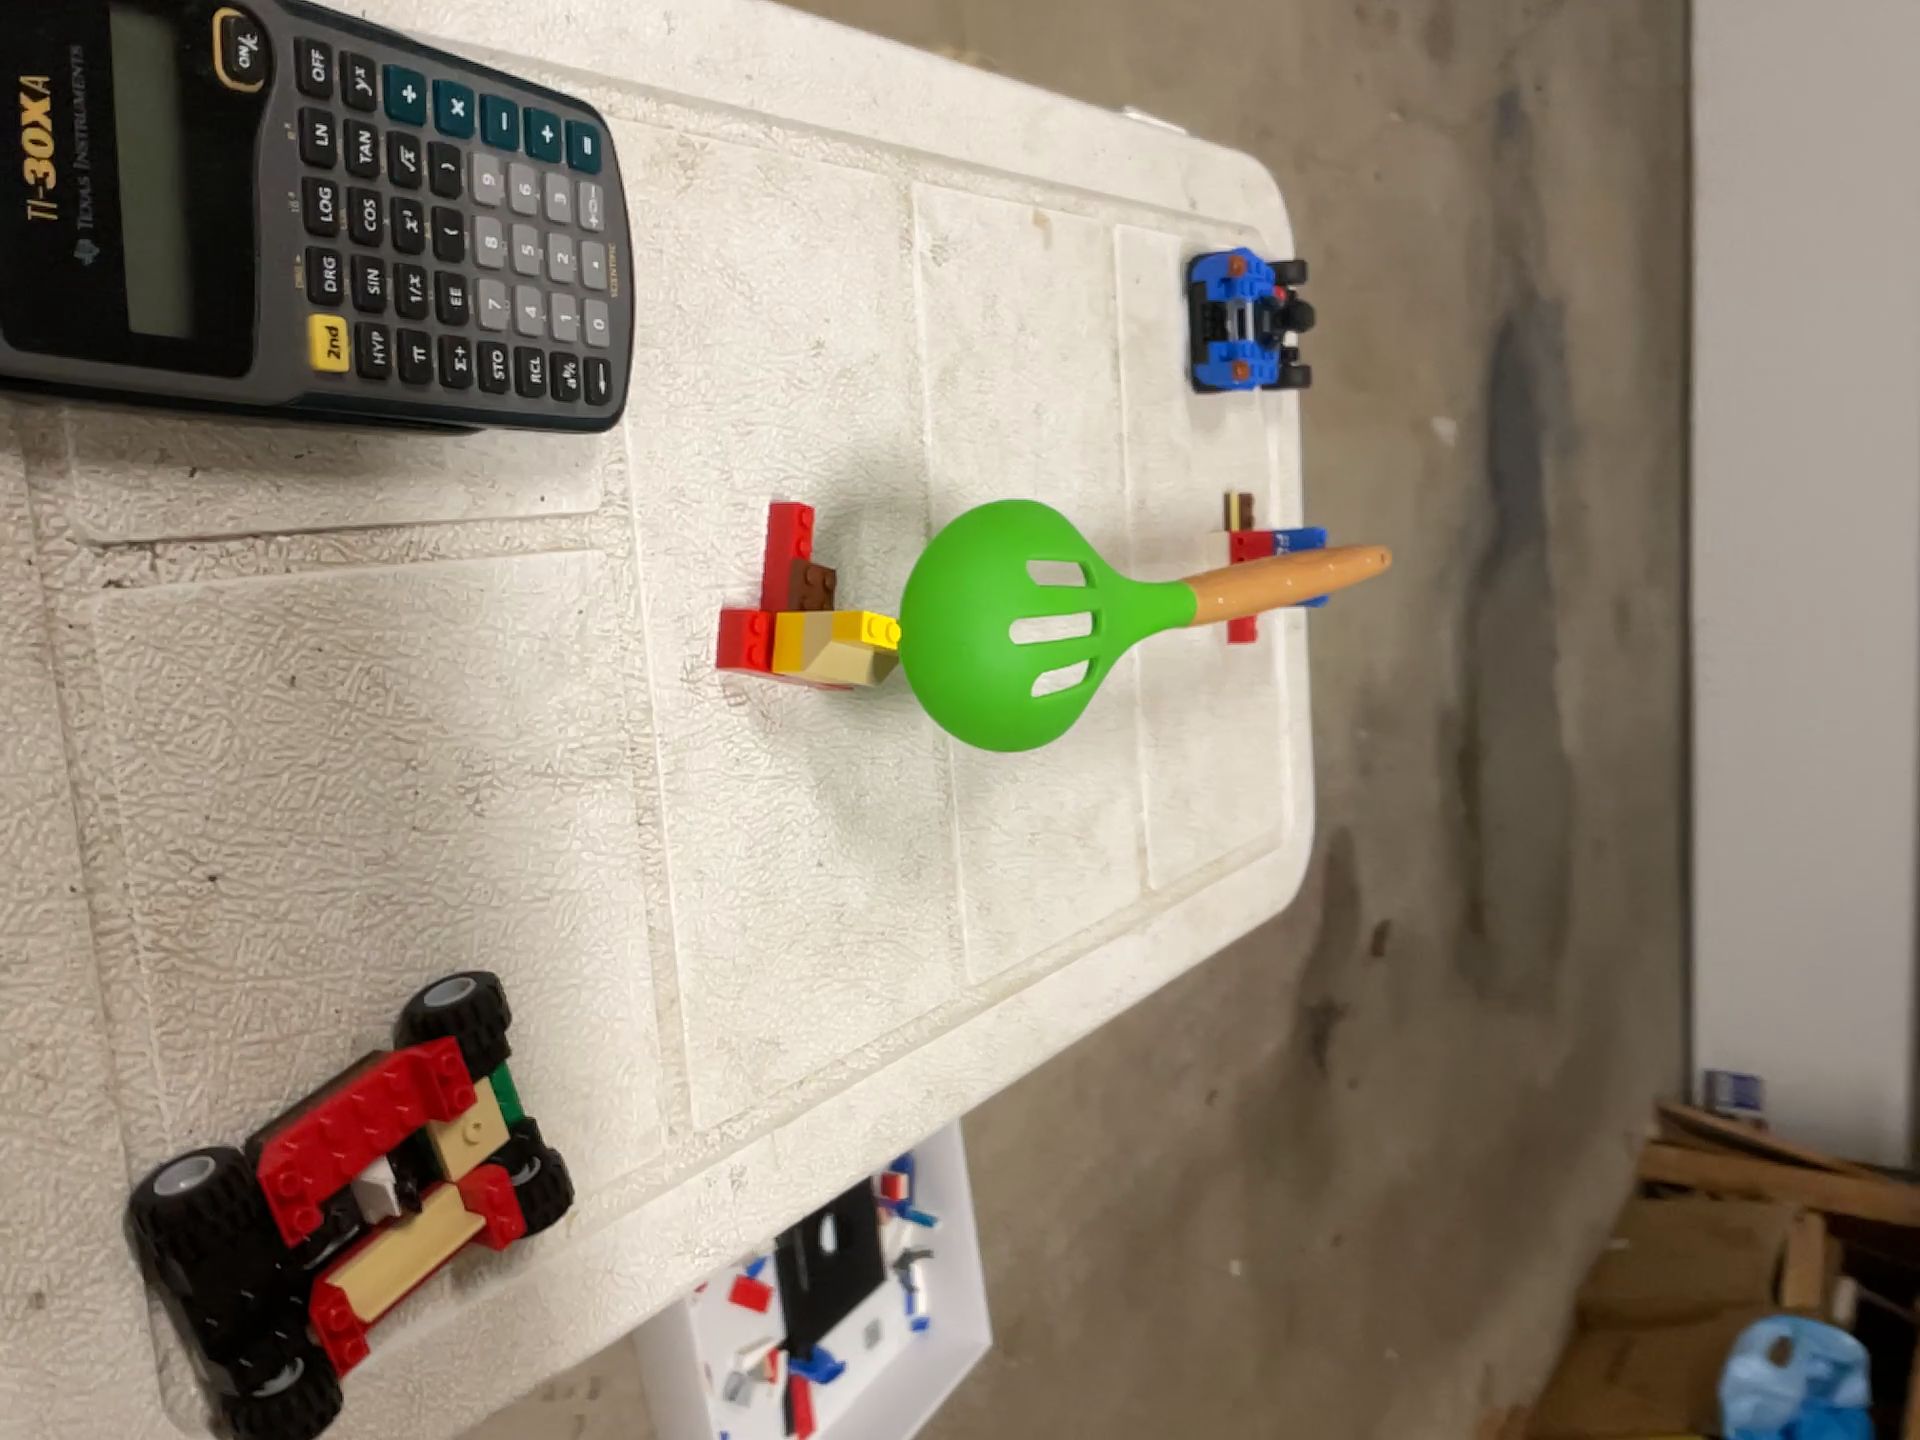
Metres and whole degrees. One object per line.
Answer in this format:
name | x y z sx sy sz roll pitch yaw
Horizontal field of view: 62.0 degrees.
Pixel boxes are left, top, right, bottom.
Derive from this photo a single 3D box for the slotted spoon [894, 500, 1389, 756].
slotted spoon | 0.083 -0.043 0.533 0.314 0.031 0.070 -15 103 -54
